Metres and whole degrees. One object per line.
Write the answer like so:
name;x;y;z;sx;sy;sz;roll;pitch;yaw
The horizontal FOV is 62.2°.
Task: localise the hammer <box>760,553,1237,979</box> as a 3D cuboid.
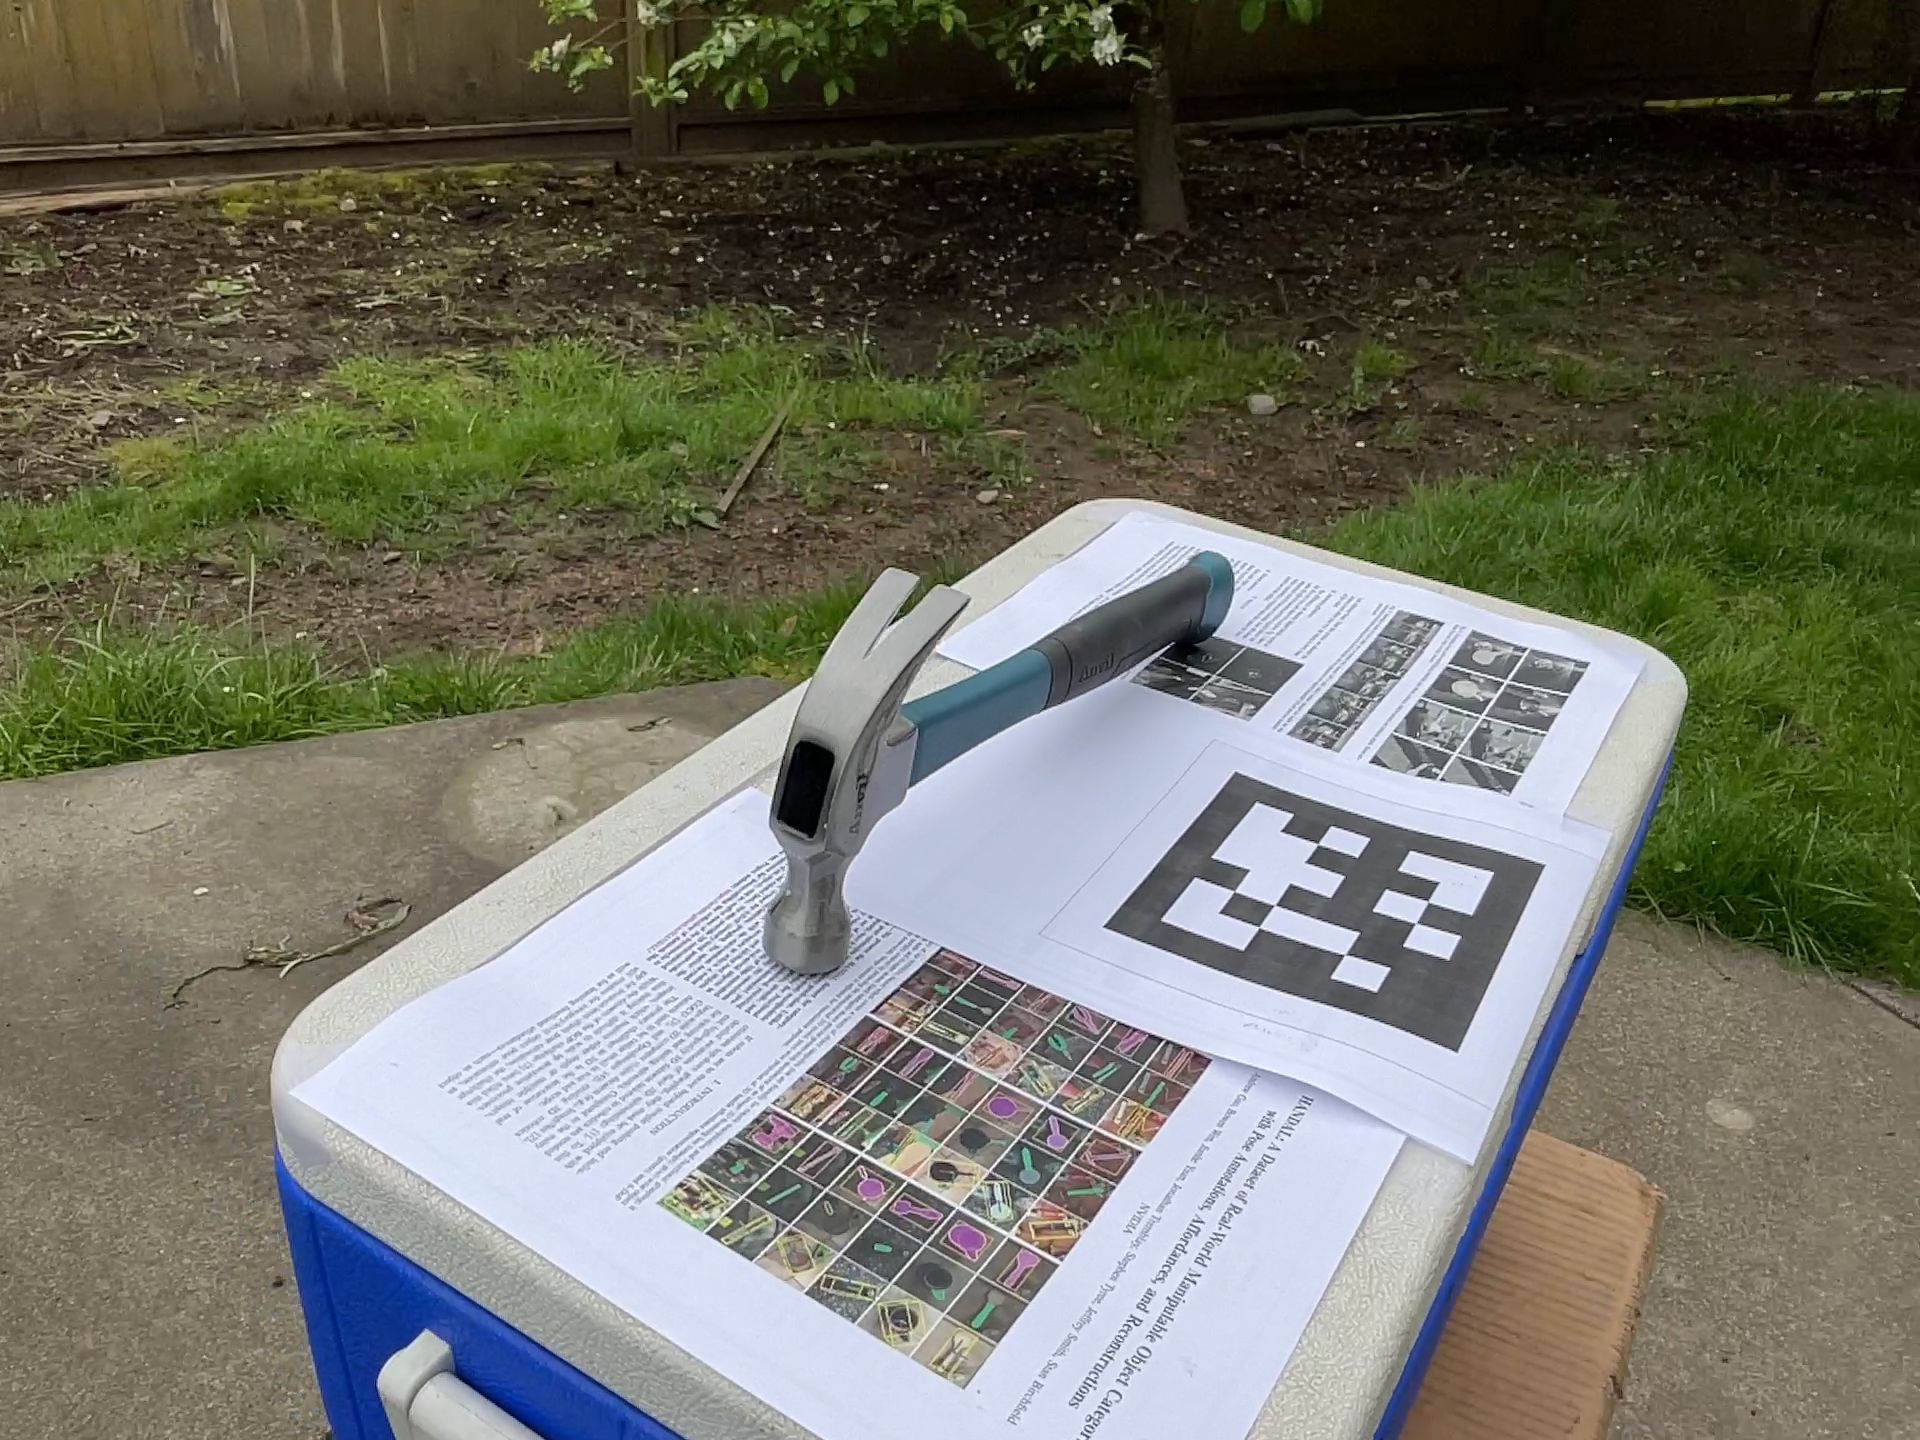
hammer;0.035;-0.017;0.640;0.033;0.128;0.331;23;27;25
